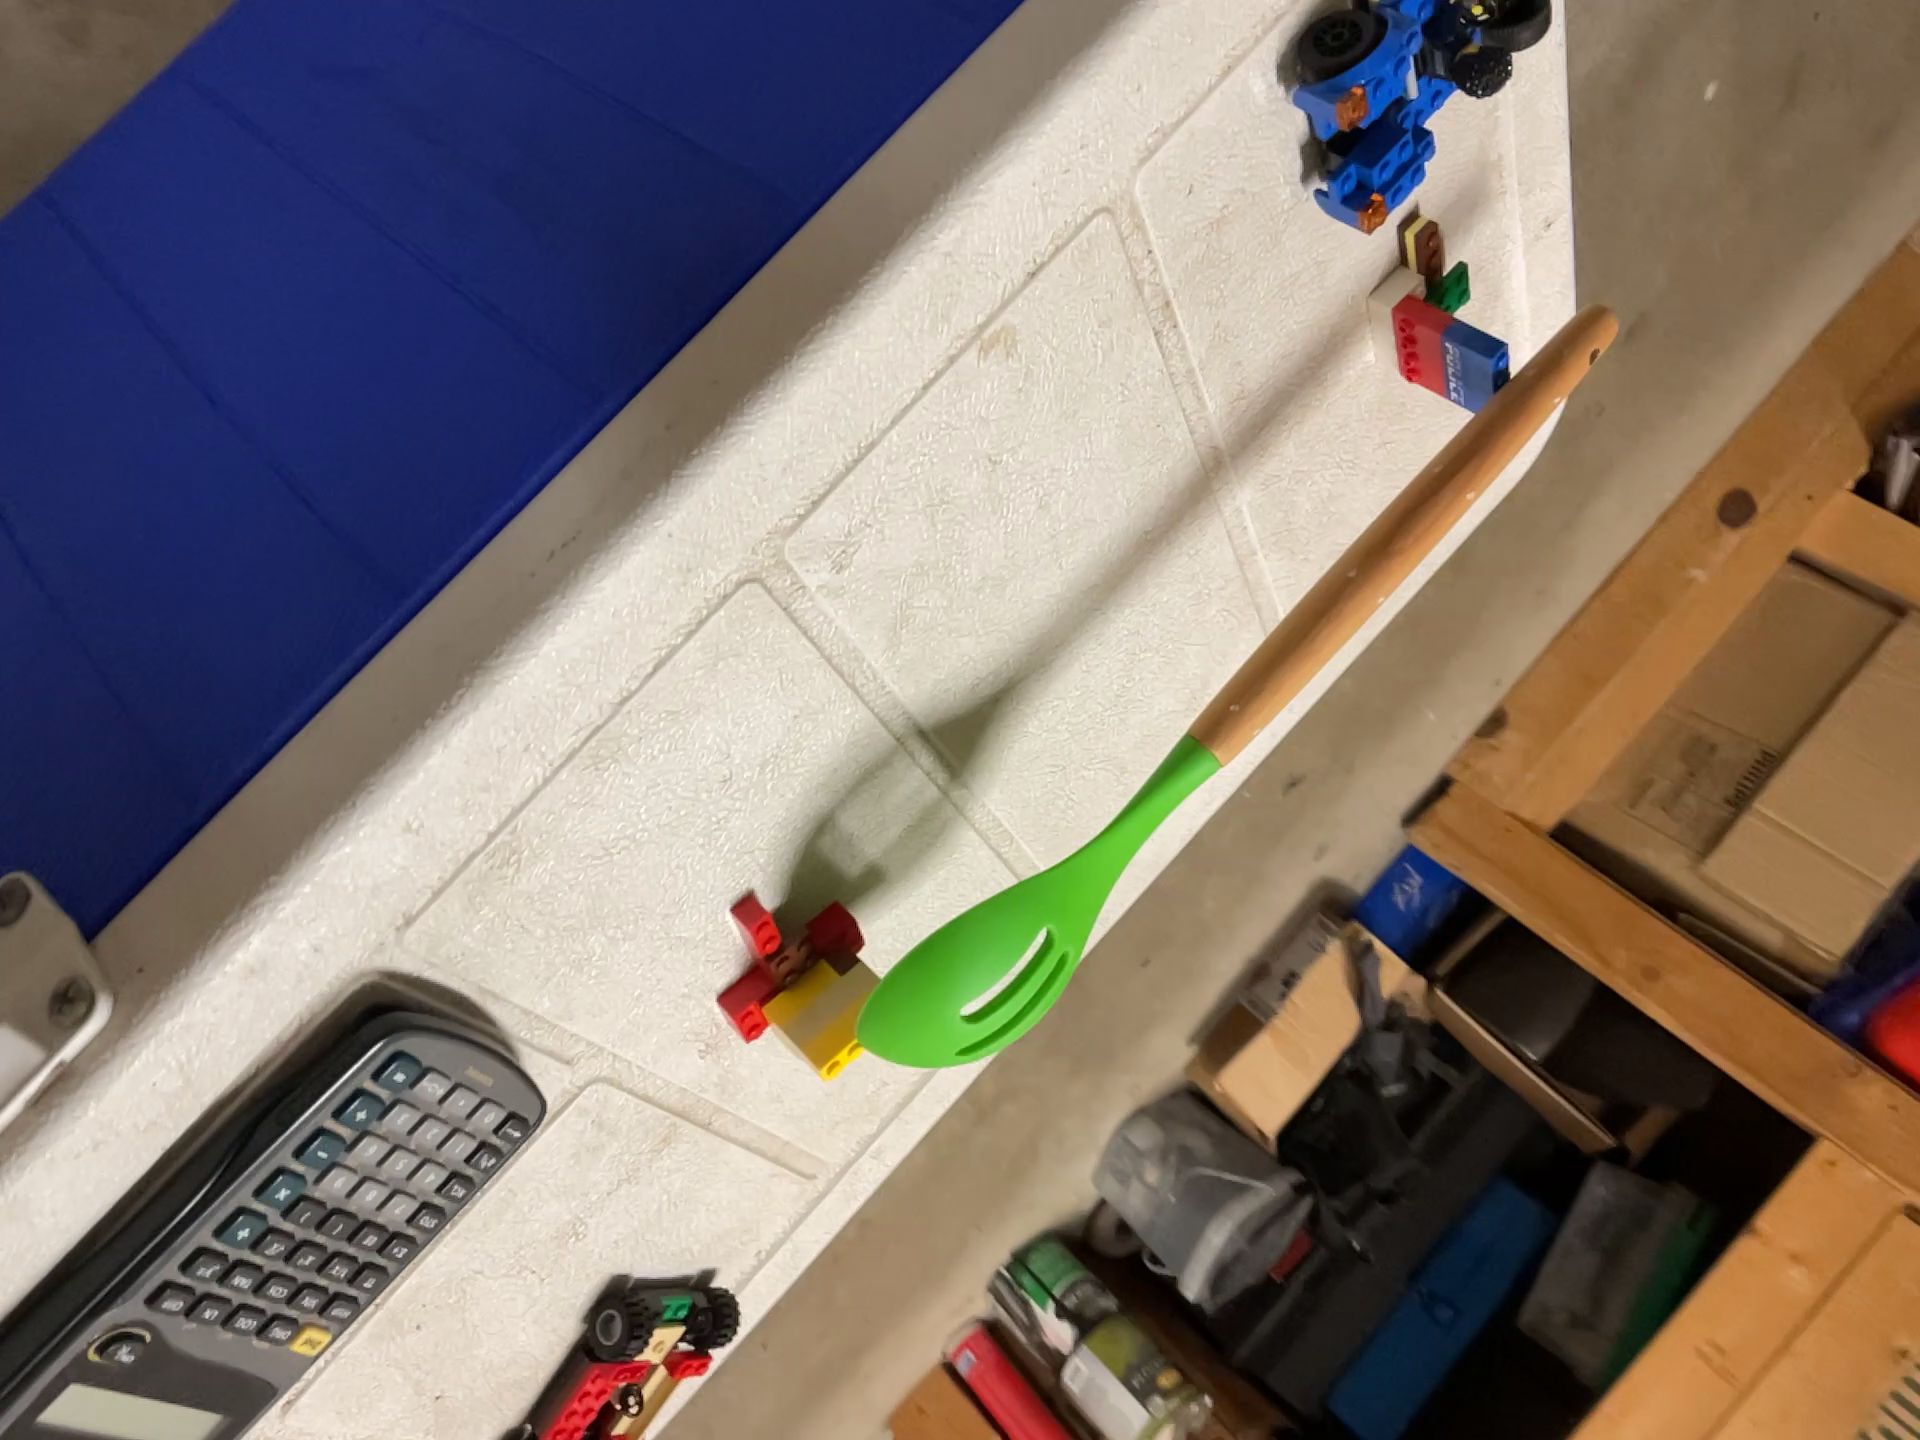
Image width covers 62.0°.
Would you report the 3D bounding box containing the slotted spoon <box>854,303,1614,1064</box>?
[{"bbox_3d":[0.089,-0.011,0.474,0.314,0.031,0.070,-47,146,-6],"label":"slotted spoon"}]
